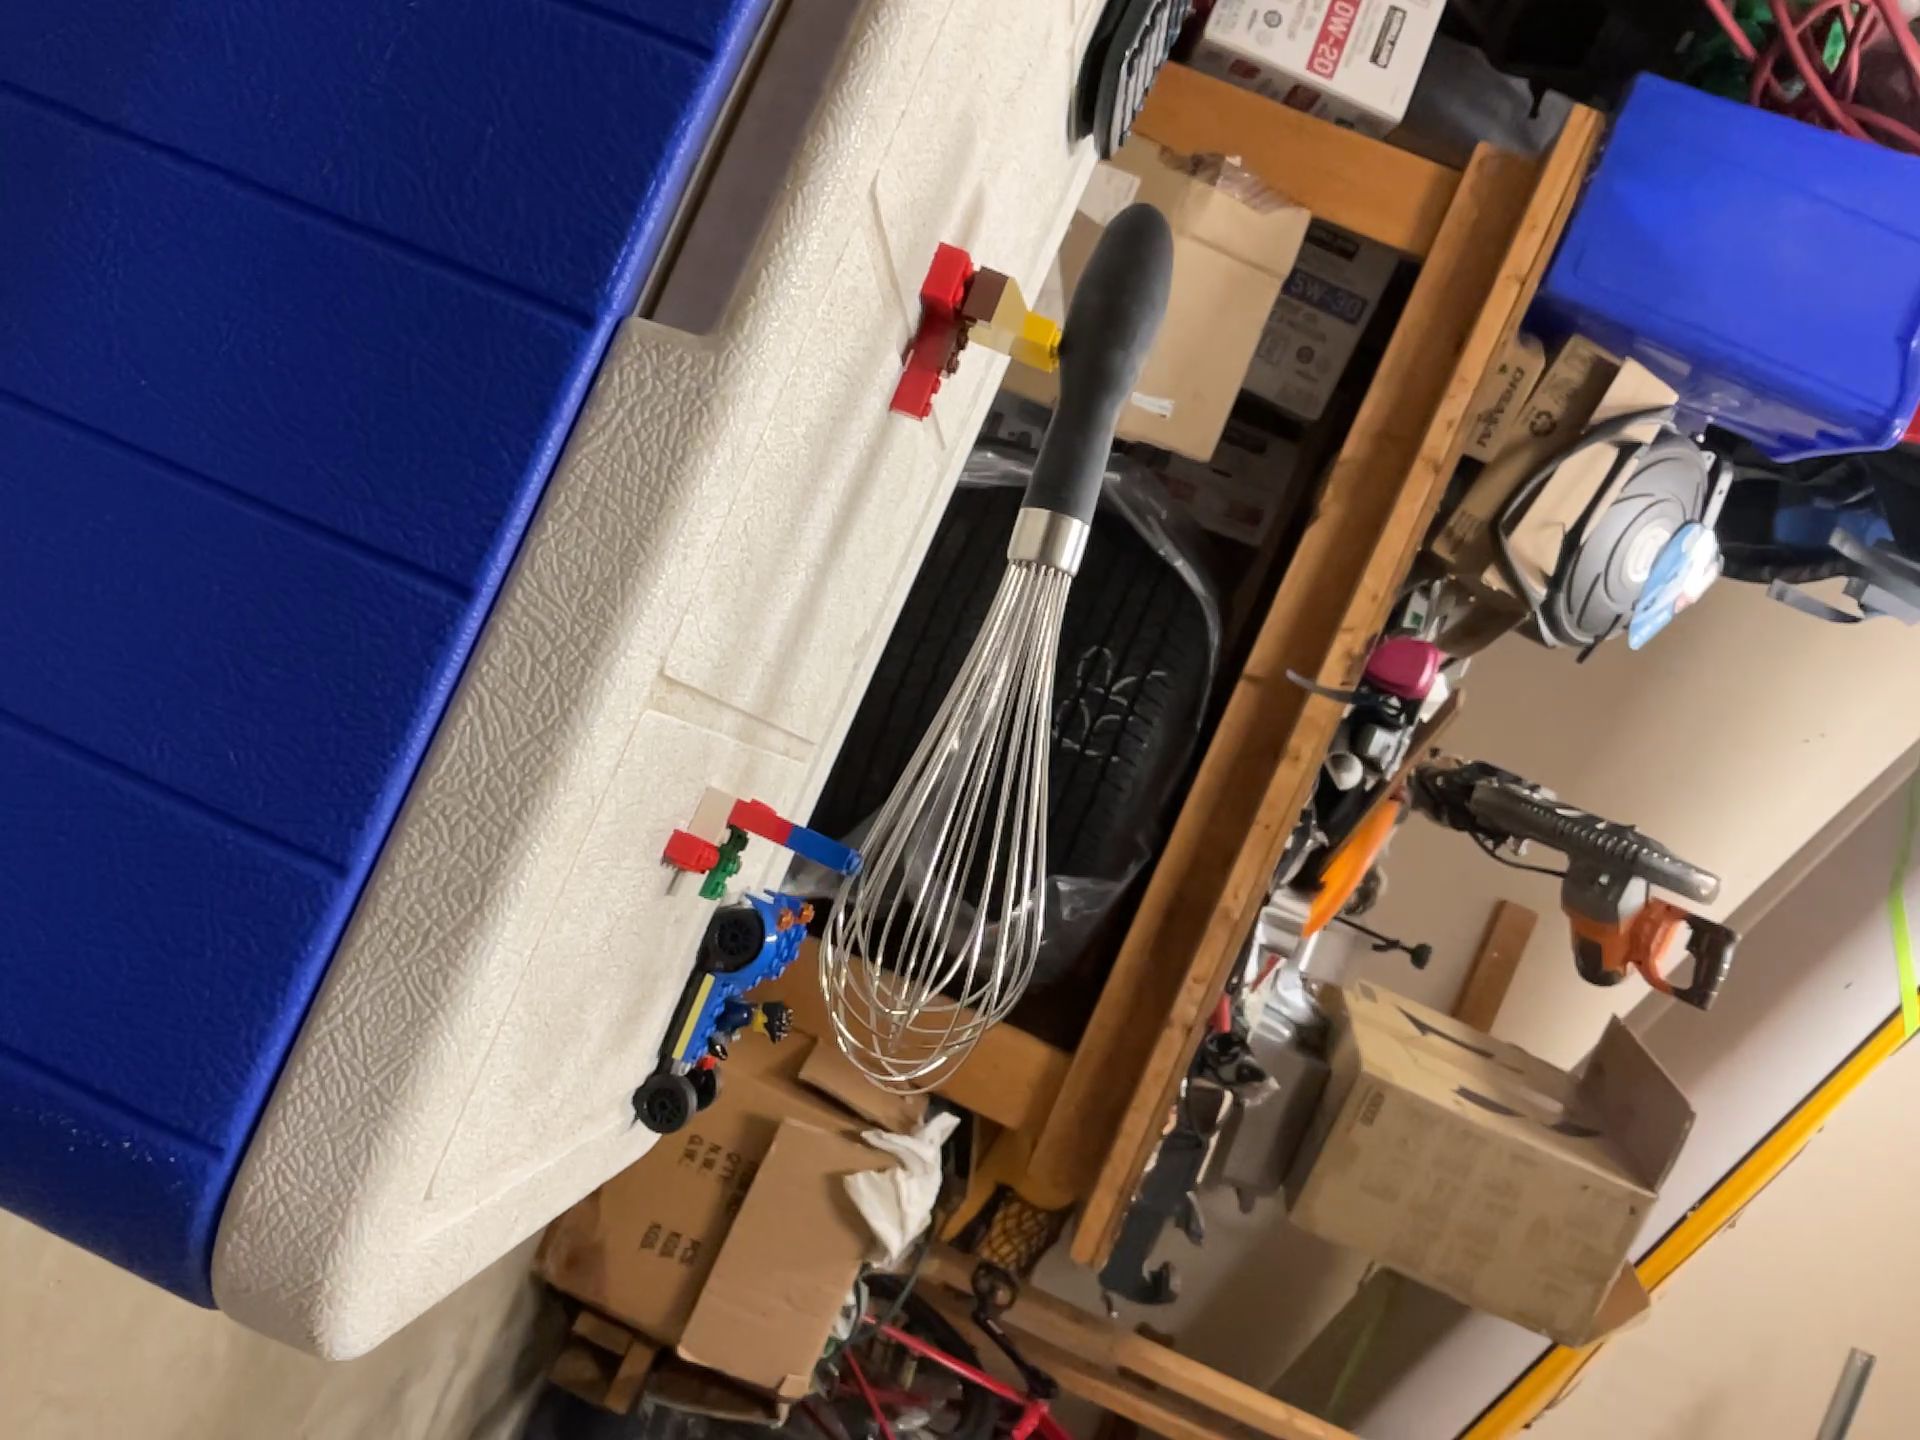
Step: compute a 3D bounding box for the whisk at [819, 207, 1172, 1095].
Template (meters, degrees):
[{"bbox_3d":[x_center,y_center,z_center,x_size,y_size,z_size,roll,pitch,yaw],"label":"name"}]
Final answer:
[{"bbox_3d":[0.018,-0.024,0.494,0.070,0.070,0.284,32,74,-80],"label":"whisk"}]
